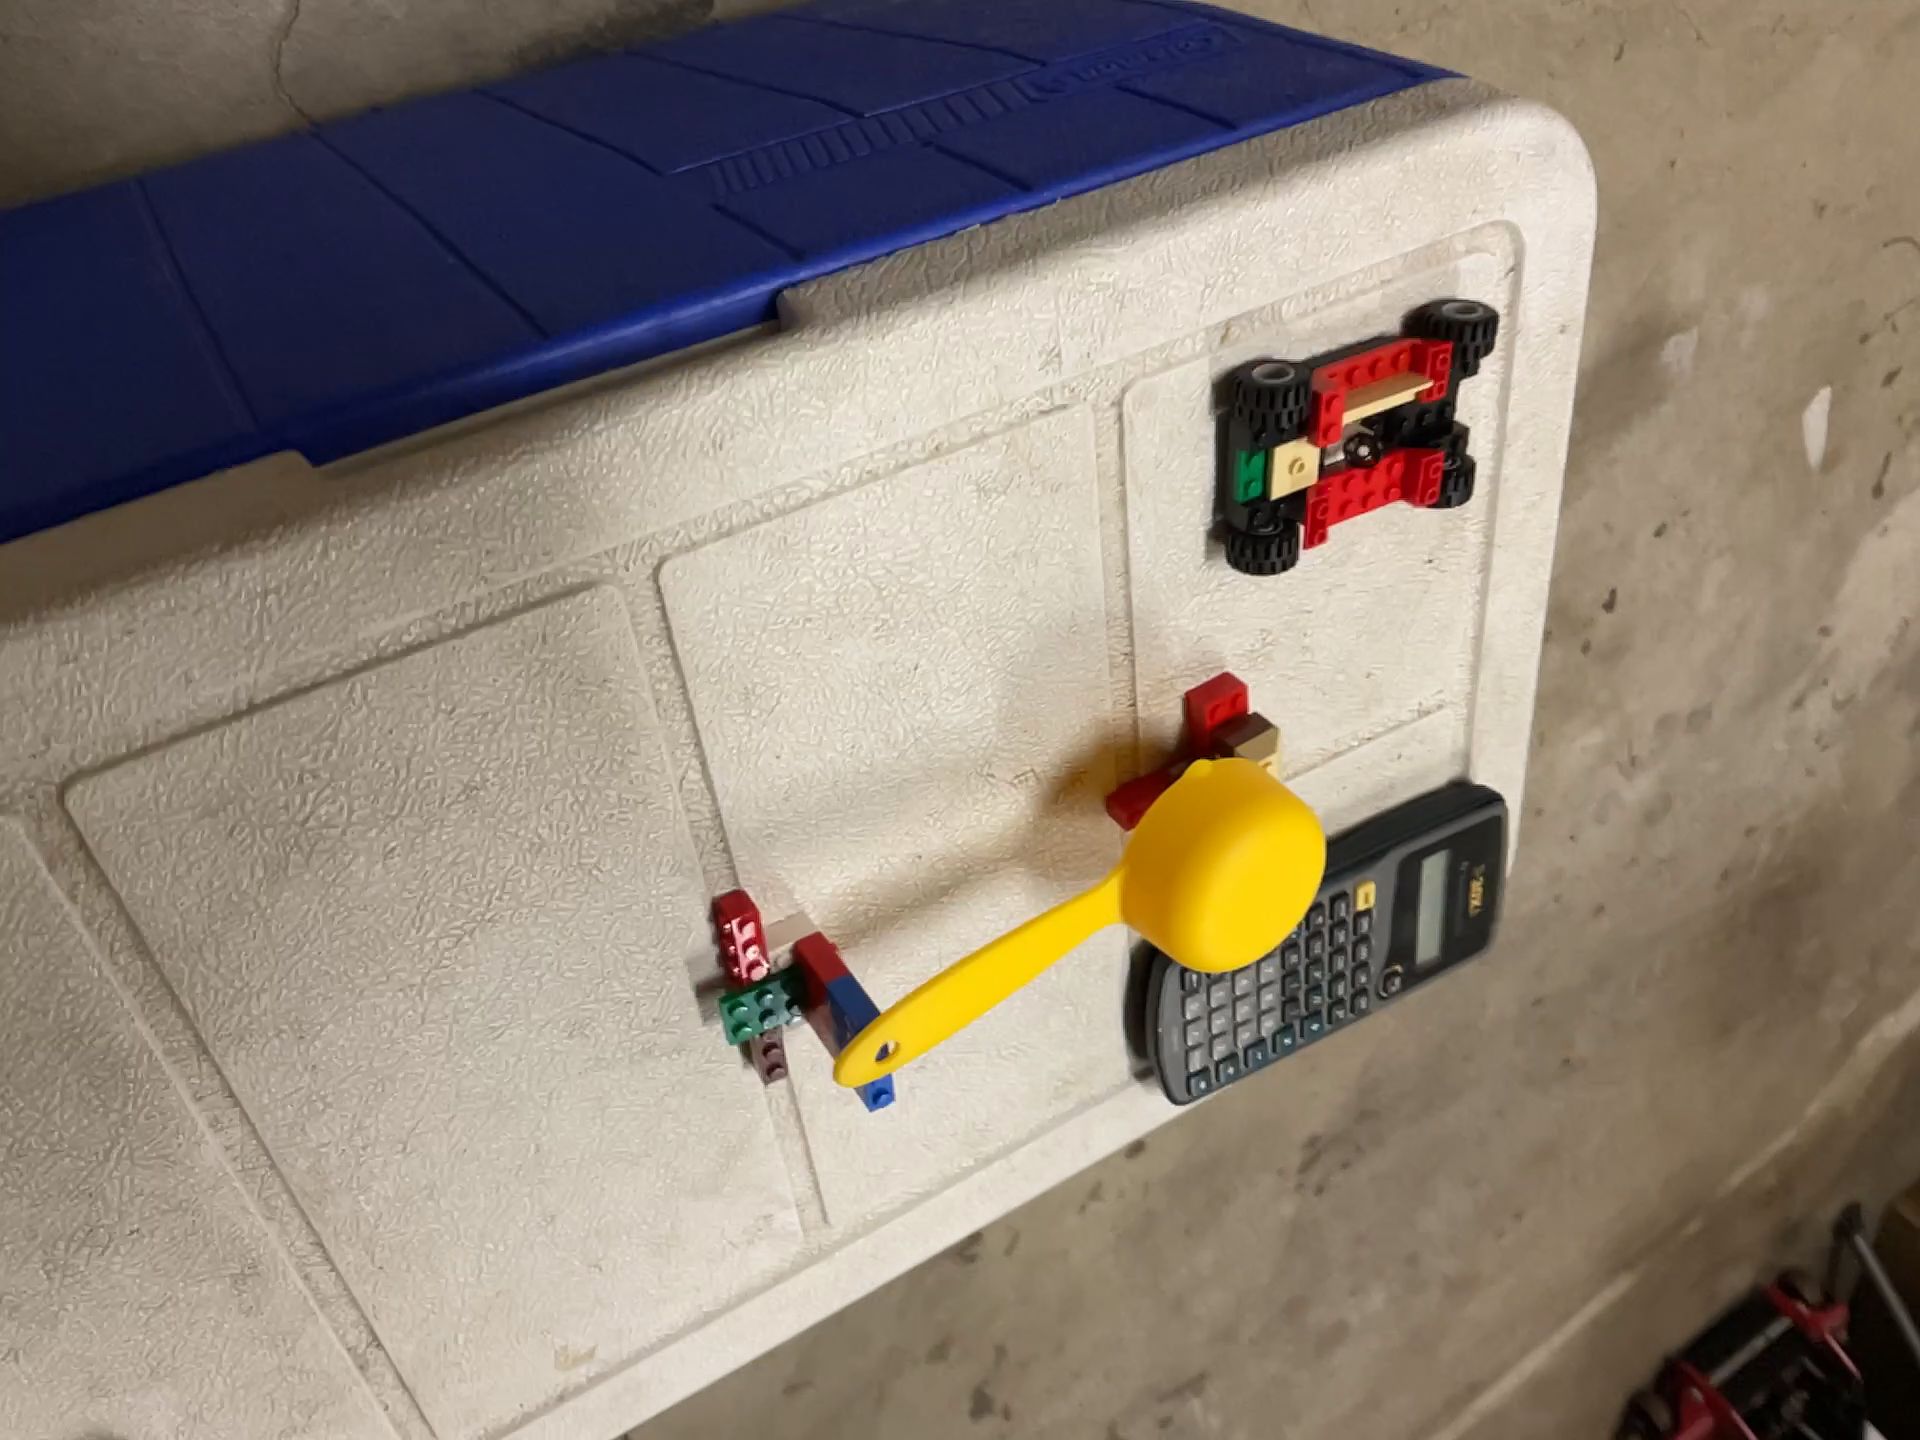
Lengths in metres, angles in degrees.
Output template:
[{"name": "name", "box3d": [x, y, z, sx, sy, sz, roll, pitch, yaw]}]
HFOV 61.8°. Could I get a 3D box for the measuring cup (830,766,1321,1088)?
[{"name": "measuring cup", "box3d": [0.037, 0.064, 0.435, 0.156, 0.029, 0.062, -27, 131, -25]}]
